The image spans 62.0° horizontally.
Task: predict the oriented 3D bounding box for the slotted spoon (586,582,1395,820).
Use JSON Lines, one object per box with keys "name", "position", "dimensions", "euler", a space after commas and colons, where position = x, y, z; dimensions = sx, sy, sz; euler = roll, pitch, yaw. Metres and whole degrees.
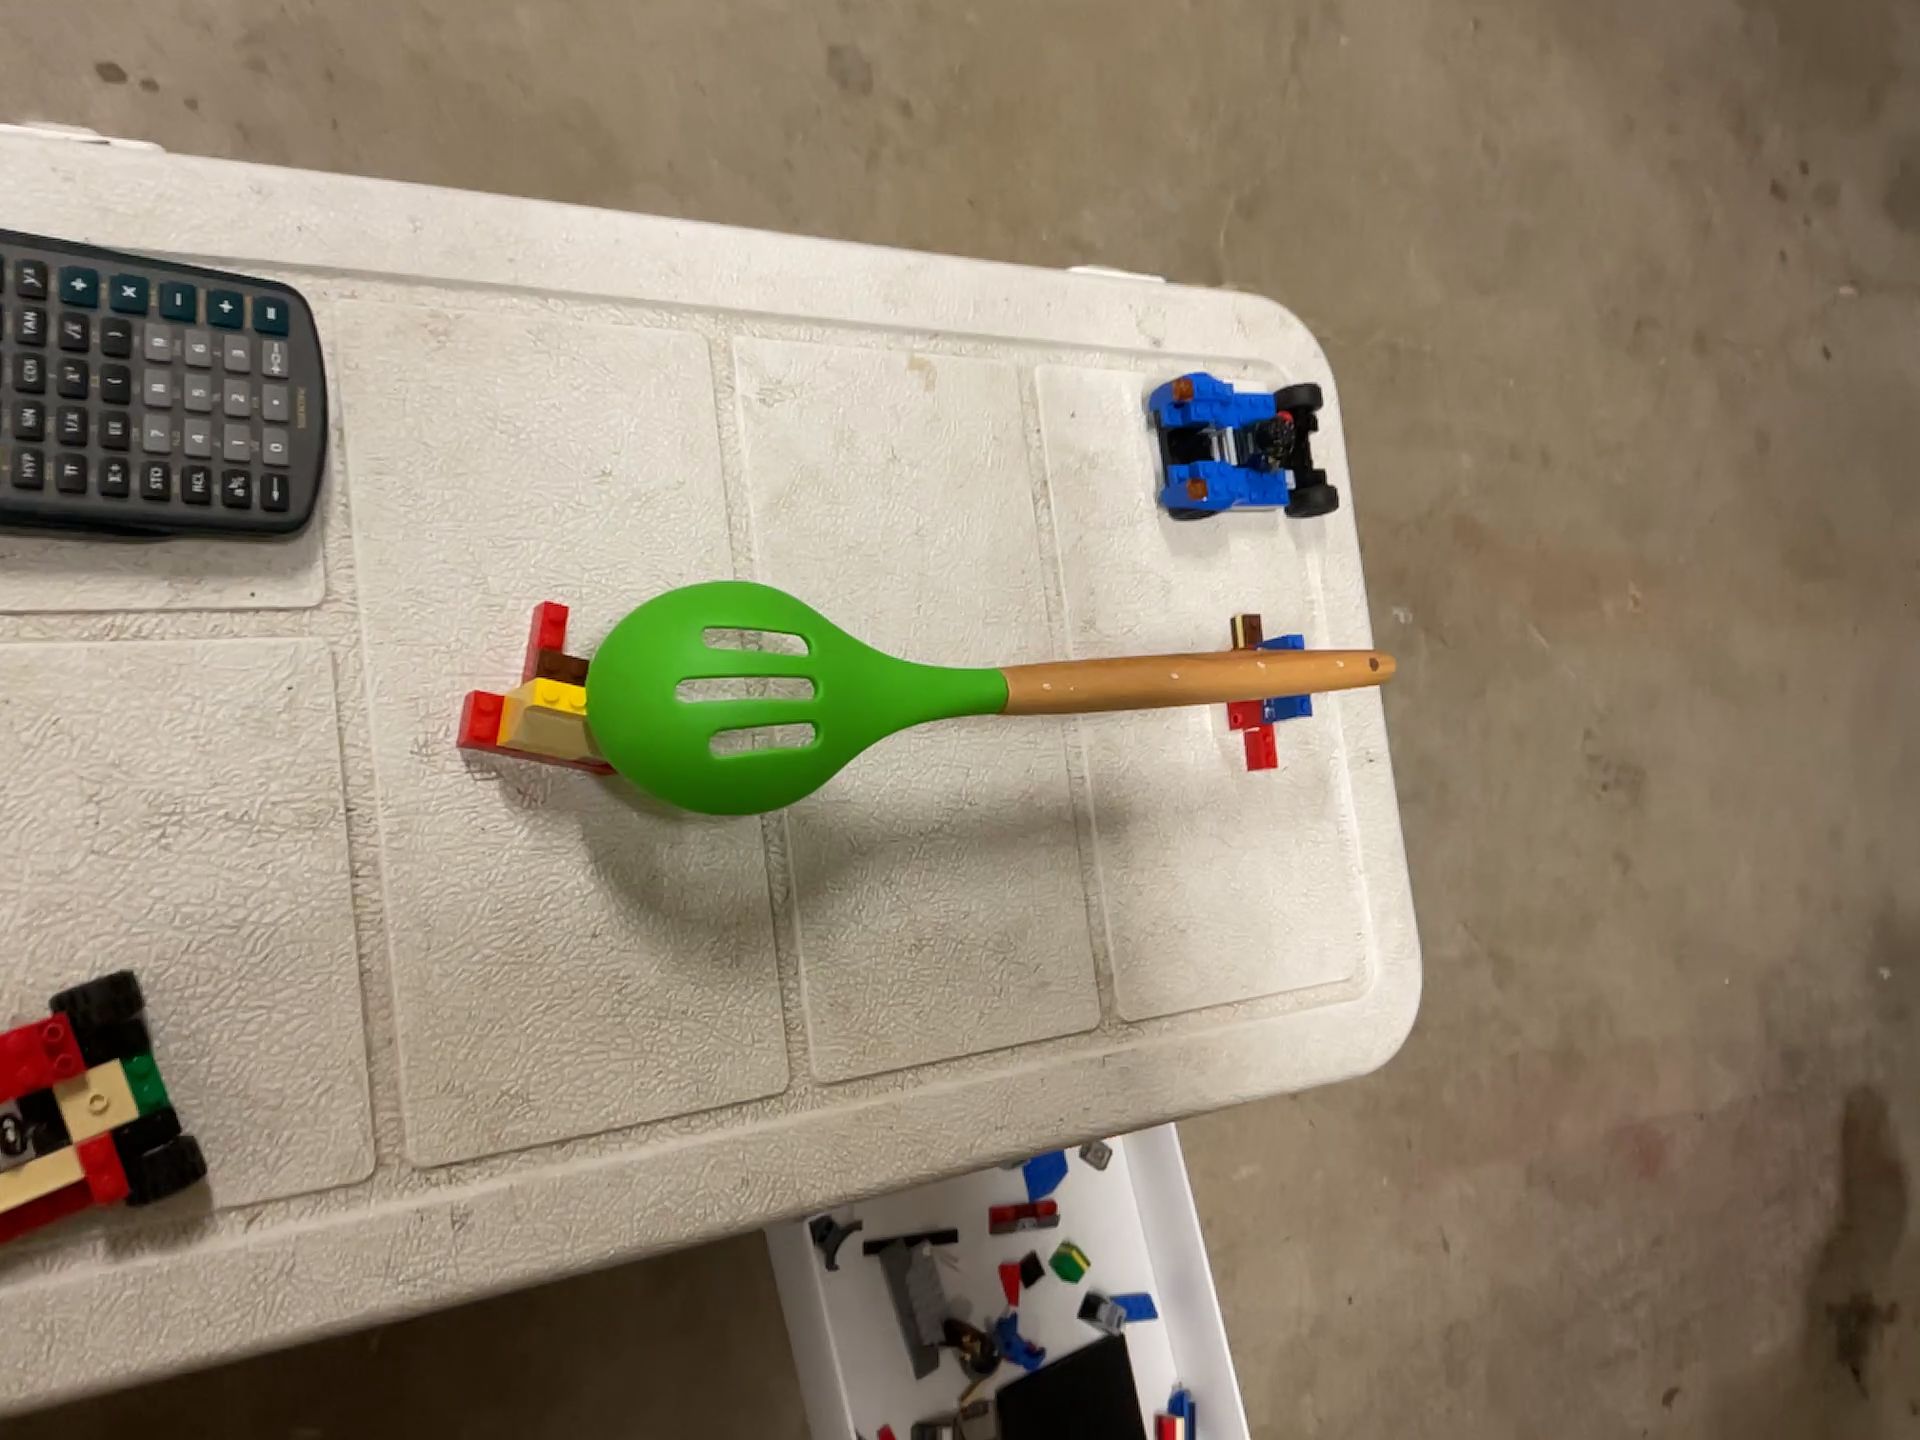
{"name": "slotted spoon", "position": [0.033, -0.013, 0.529], "dimensions": [0.313, 0.031, 0.070], "euler": [-4, 83, -33]}
